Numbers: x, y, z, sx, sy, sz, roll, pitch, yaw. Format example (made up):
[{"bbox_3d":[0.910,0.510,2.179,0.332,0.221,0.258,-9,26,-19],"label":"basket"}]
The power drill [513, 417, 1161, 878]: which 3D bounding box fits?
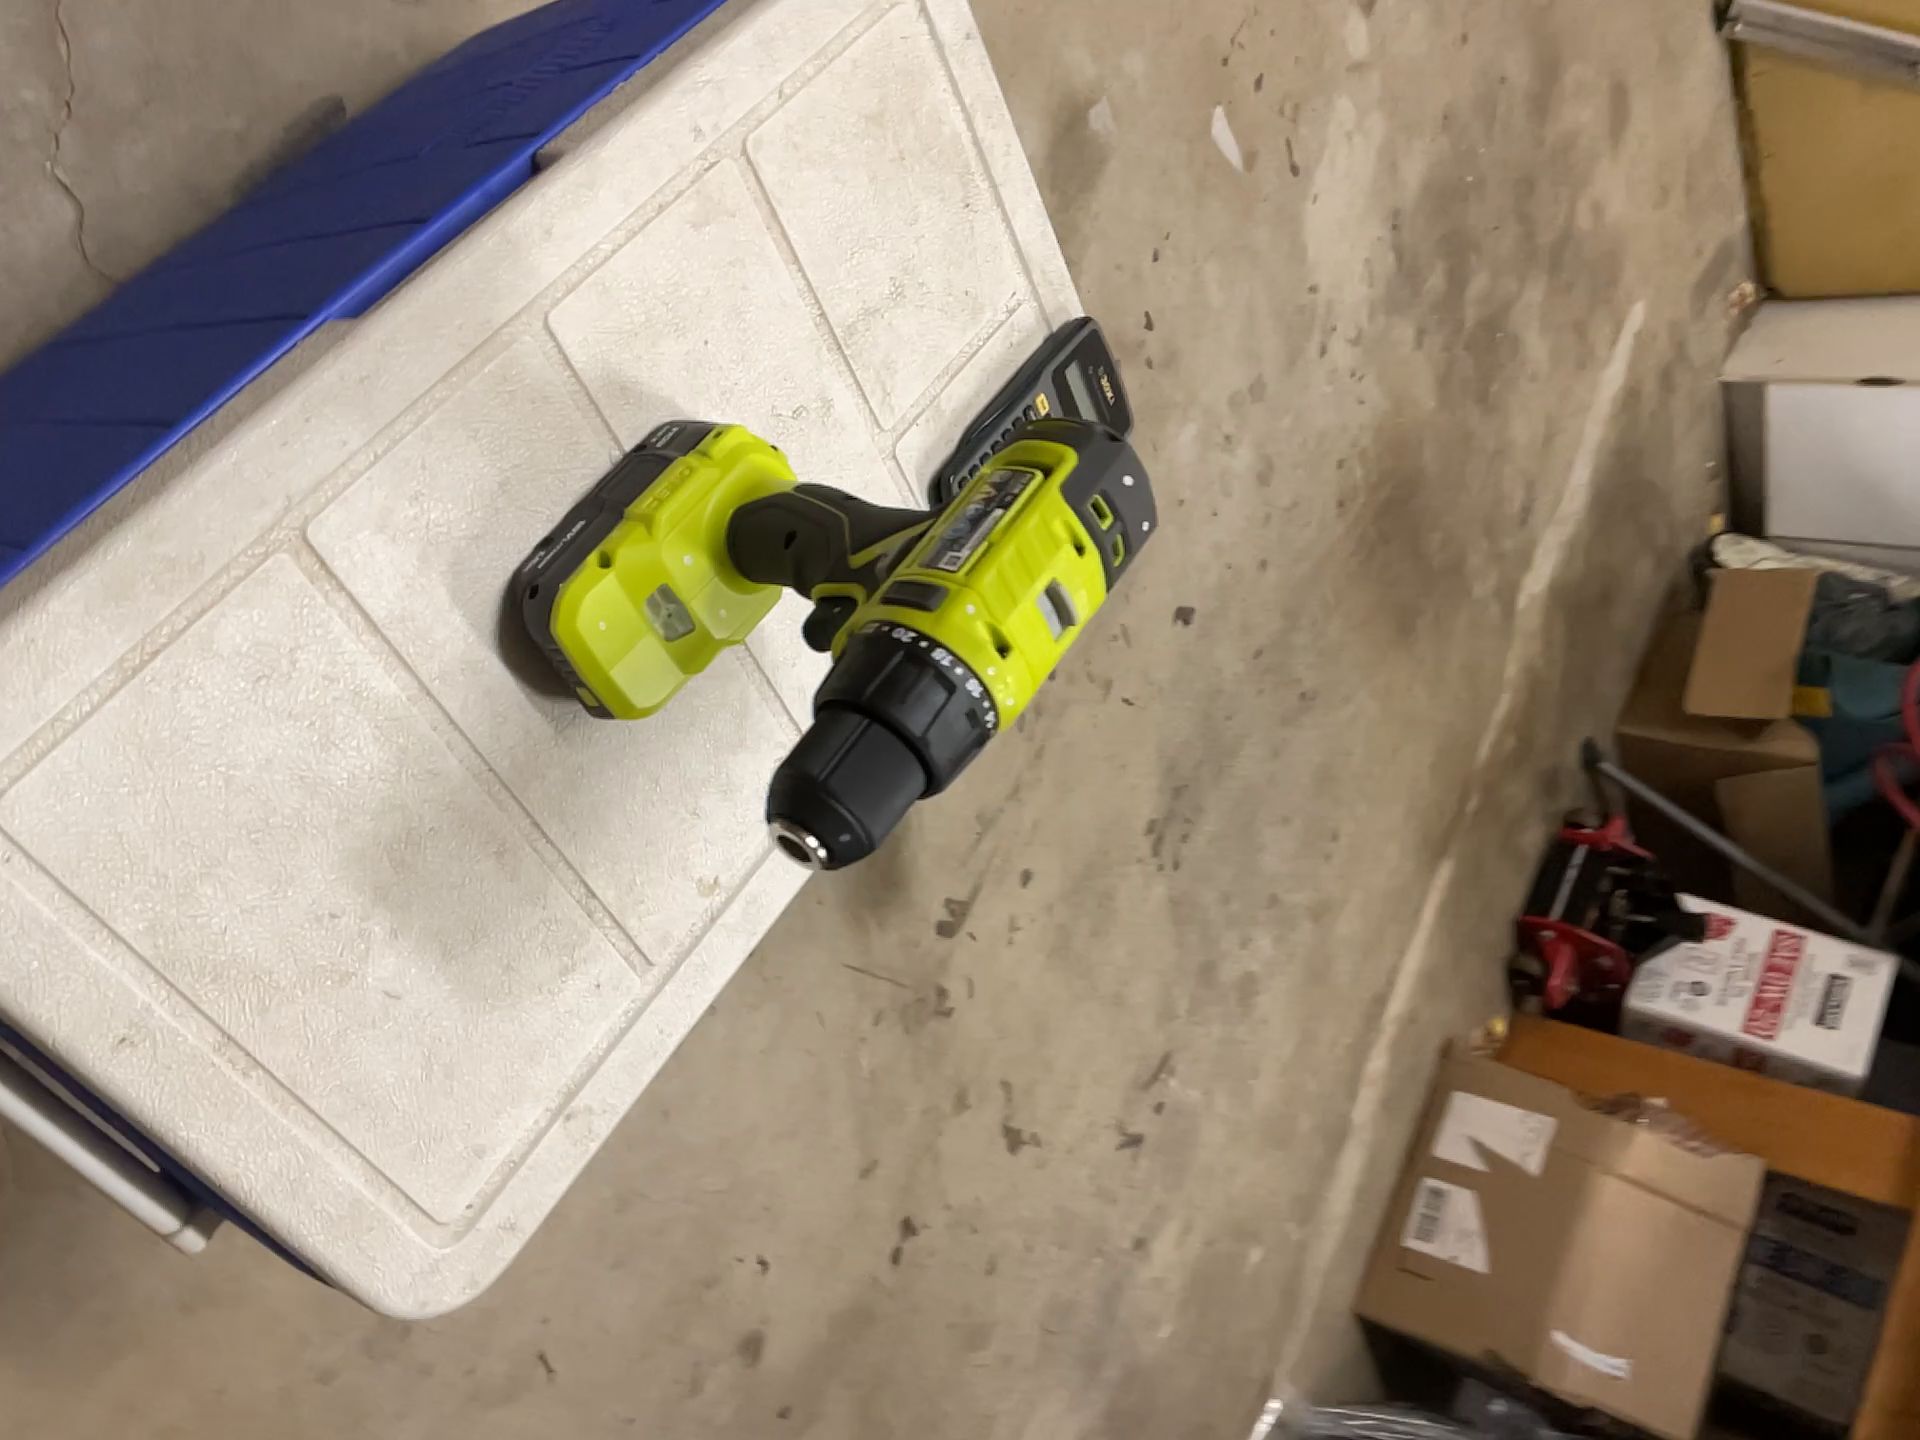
[{"bbox_3d":[-0.061,-0.038,0.595,0.191,0.228,0.080,-52,134,-27],"label":"power drill"}]
